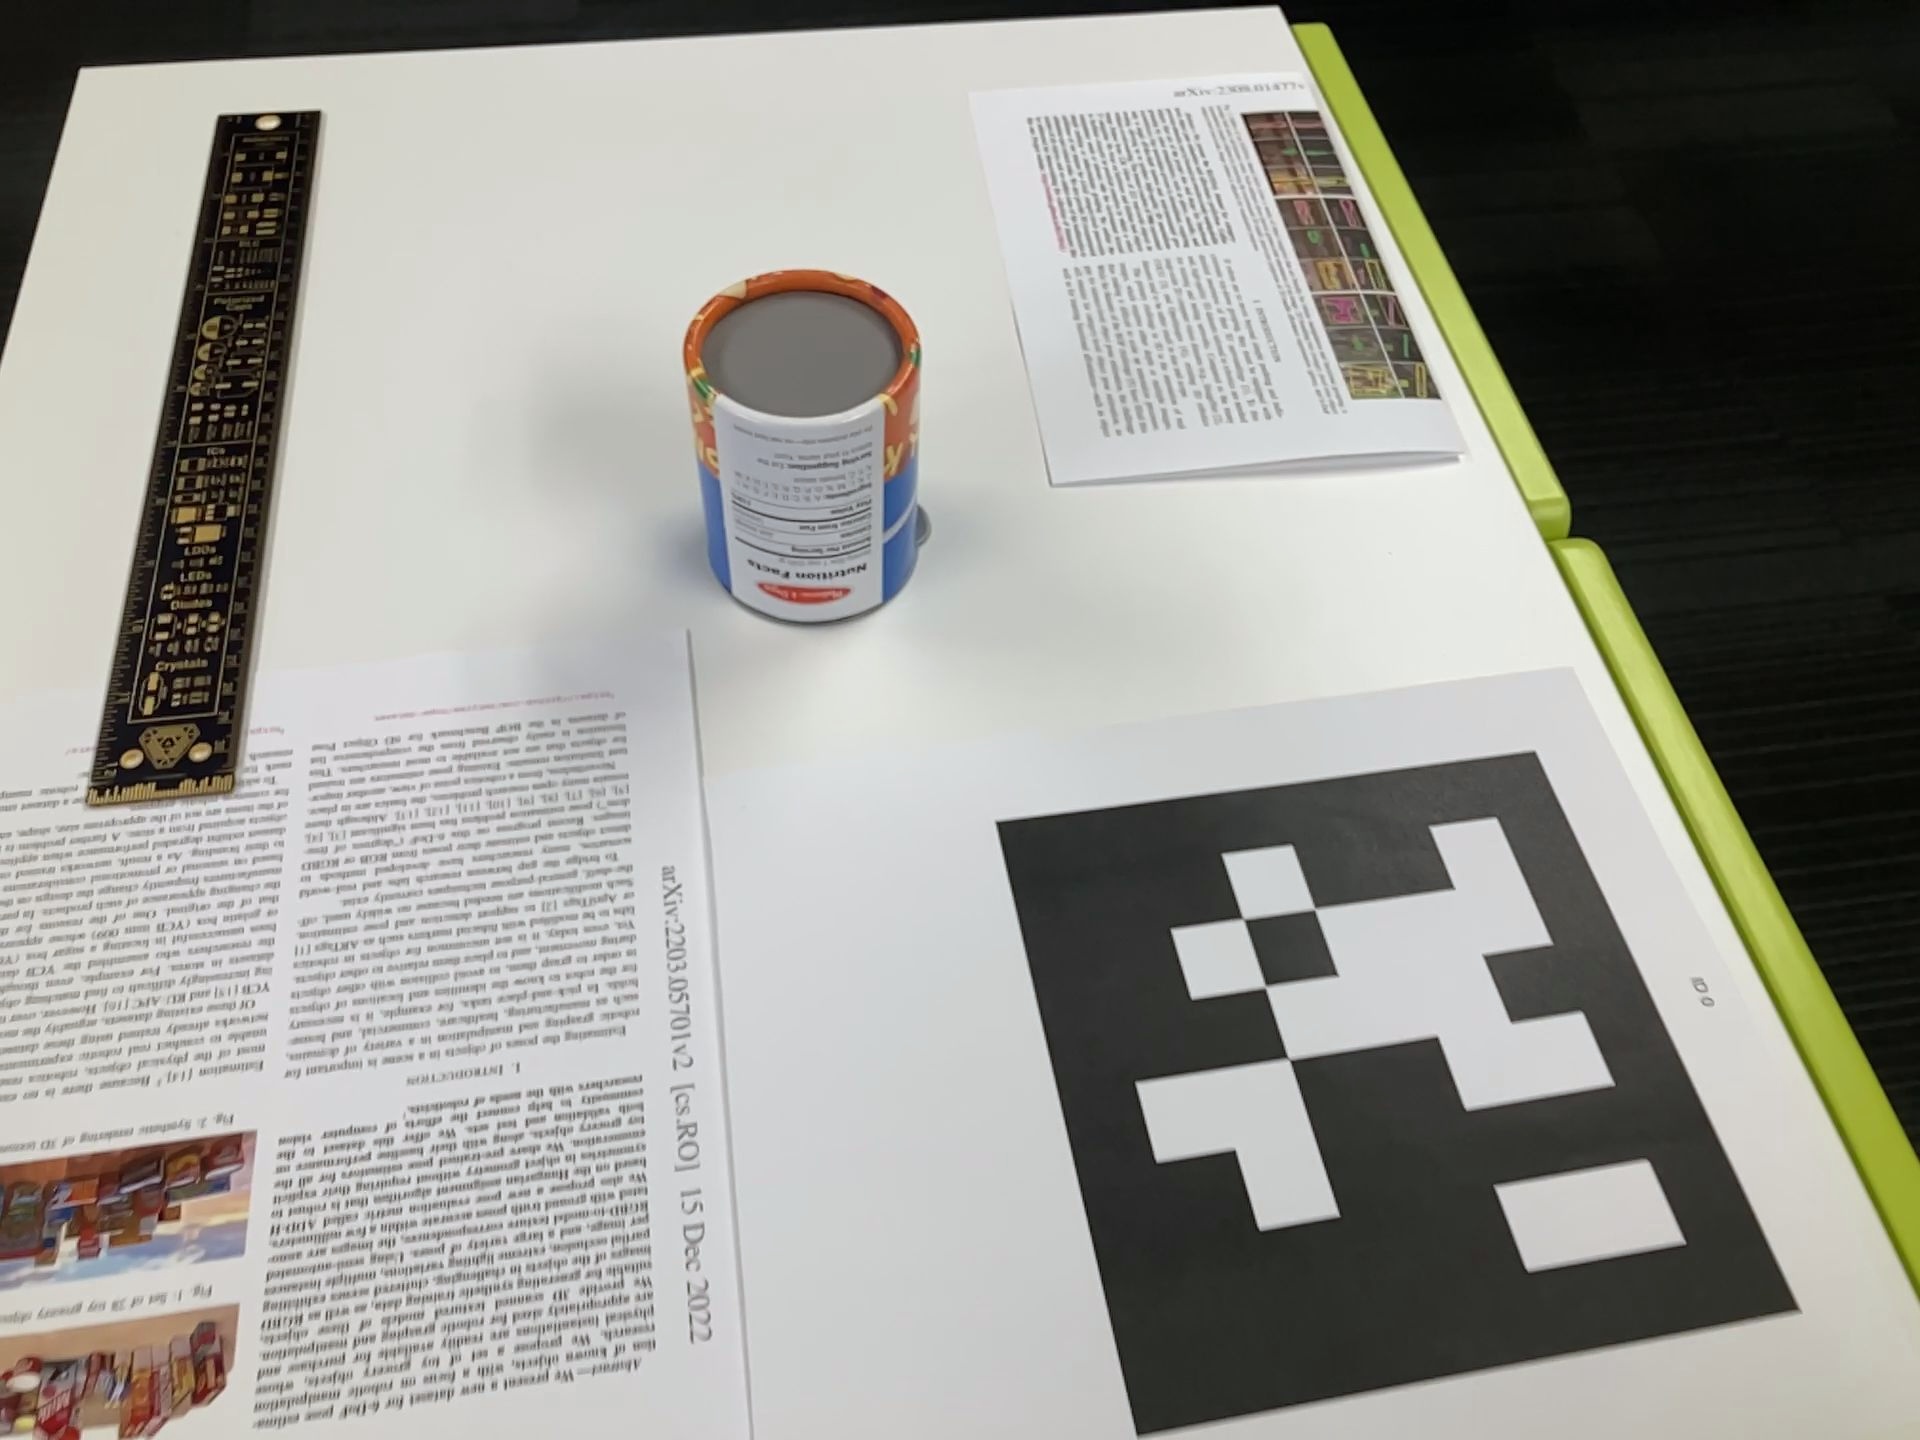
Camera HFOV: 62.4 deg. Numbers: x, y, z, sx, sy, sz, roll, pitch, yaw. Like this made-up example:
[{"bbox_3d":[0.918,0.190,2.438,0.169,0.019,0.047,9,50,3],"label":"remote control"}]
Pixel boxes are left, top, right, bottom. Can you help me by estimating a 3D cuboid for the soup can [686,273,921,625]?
[{"bbox_3d":[-0.046,-0.082,0.476,0.071,0.084,0.071,2,54,-2],"label":"soup can"}]
